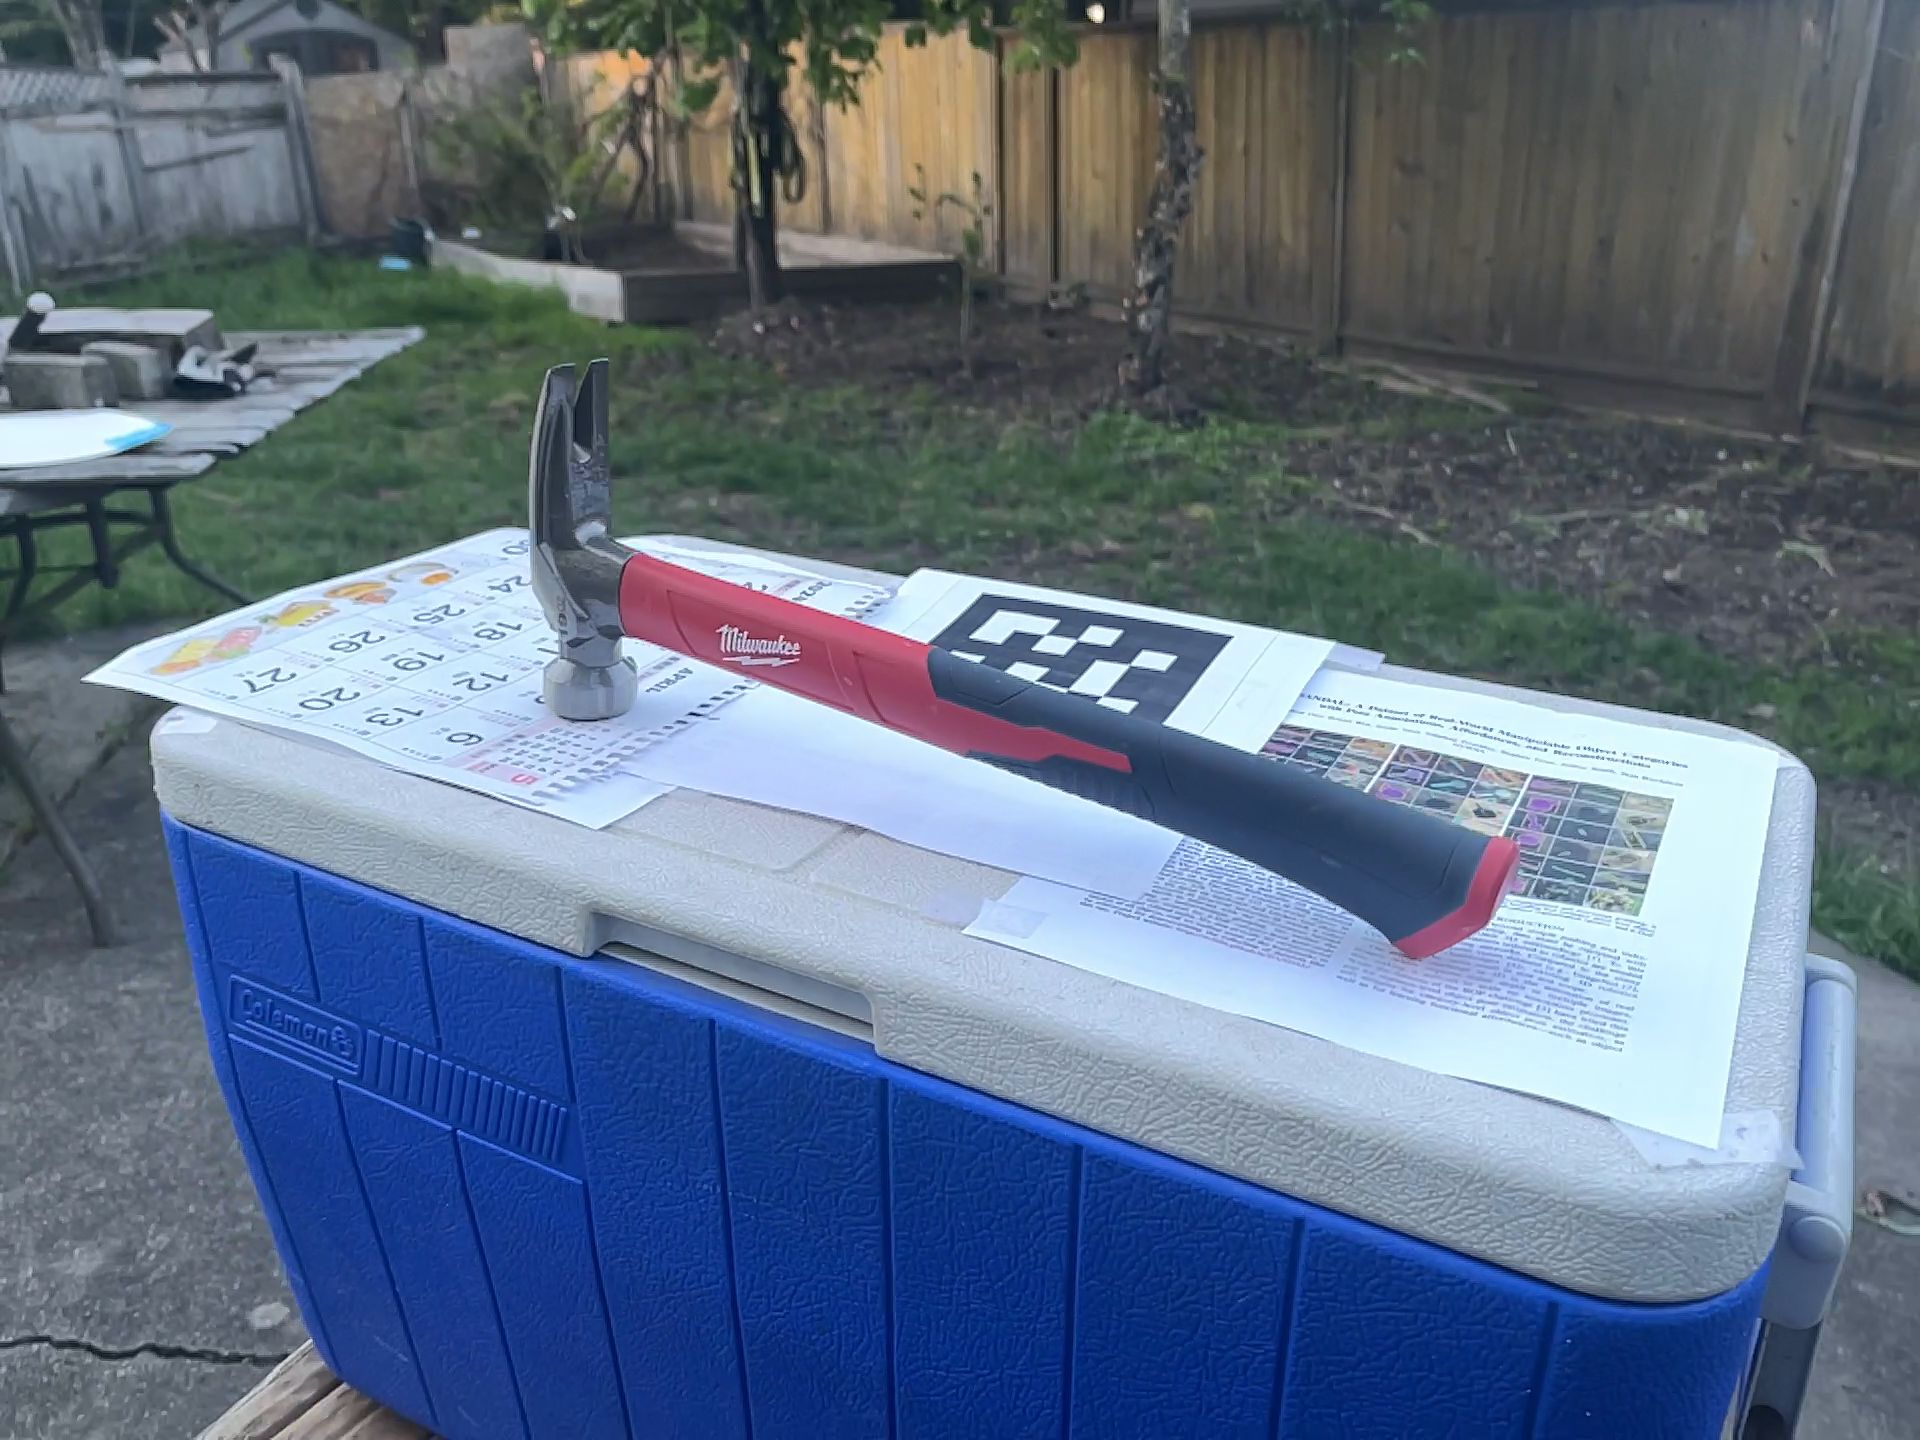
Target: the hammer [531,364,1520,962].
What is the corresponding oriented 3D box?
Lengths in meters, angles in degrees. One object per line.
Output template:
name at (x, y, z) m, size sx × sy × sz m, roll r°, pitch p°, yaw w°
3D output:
hammer at (-0.001, -0.019, 0.536) m, size 0.386 × 0.143 × 0.038 m, roll 19°, pitch 28°, yaw 27°
